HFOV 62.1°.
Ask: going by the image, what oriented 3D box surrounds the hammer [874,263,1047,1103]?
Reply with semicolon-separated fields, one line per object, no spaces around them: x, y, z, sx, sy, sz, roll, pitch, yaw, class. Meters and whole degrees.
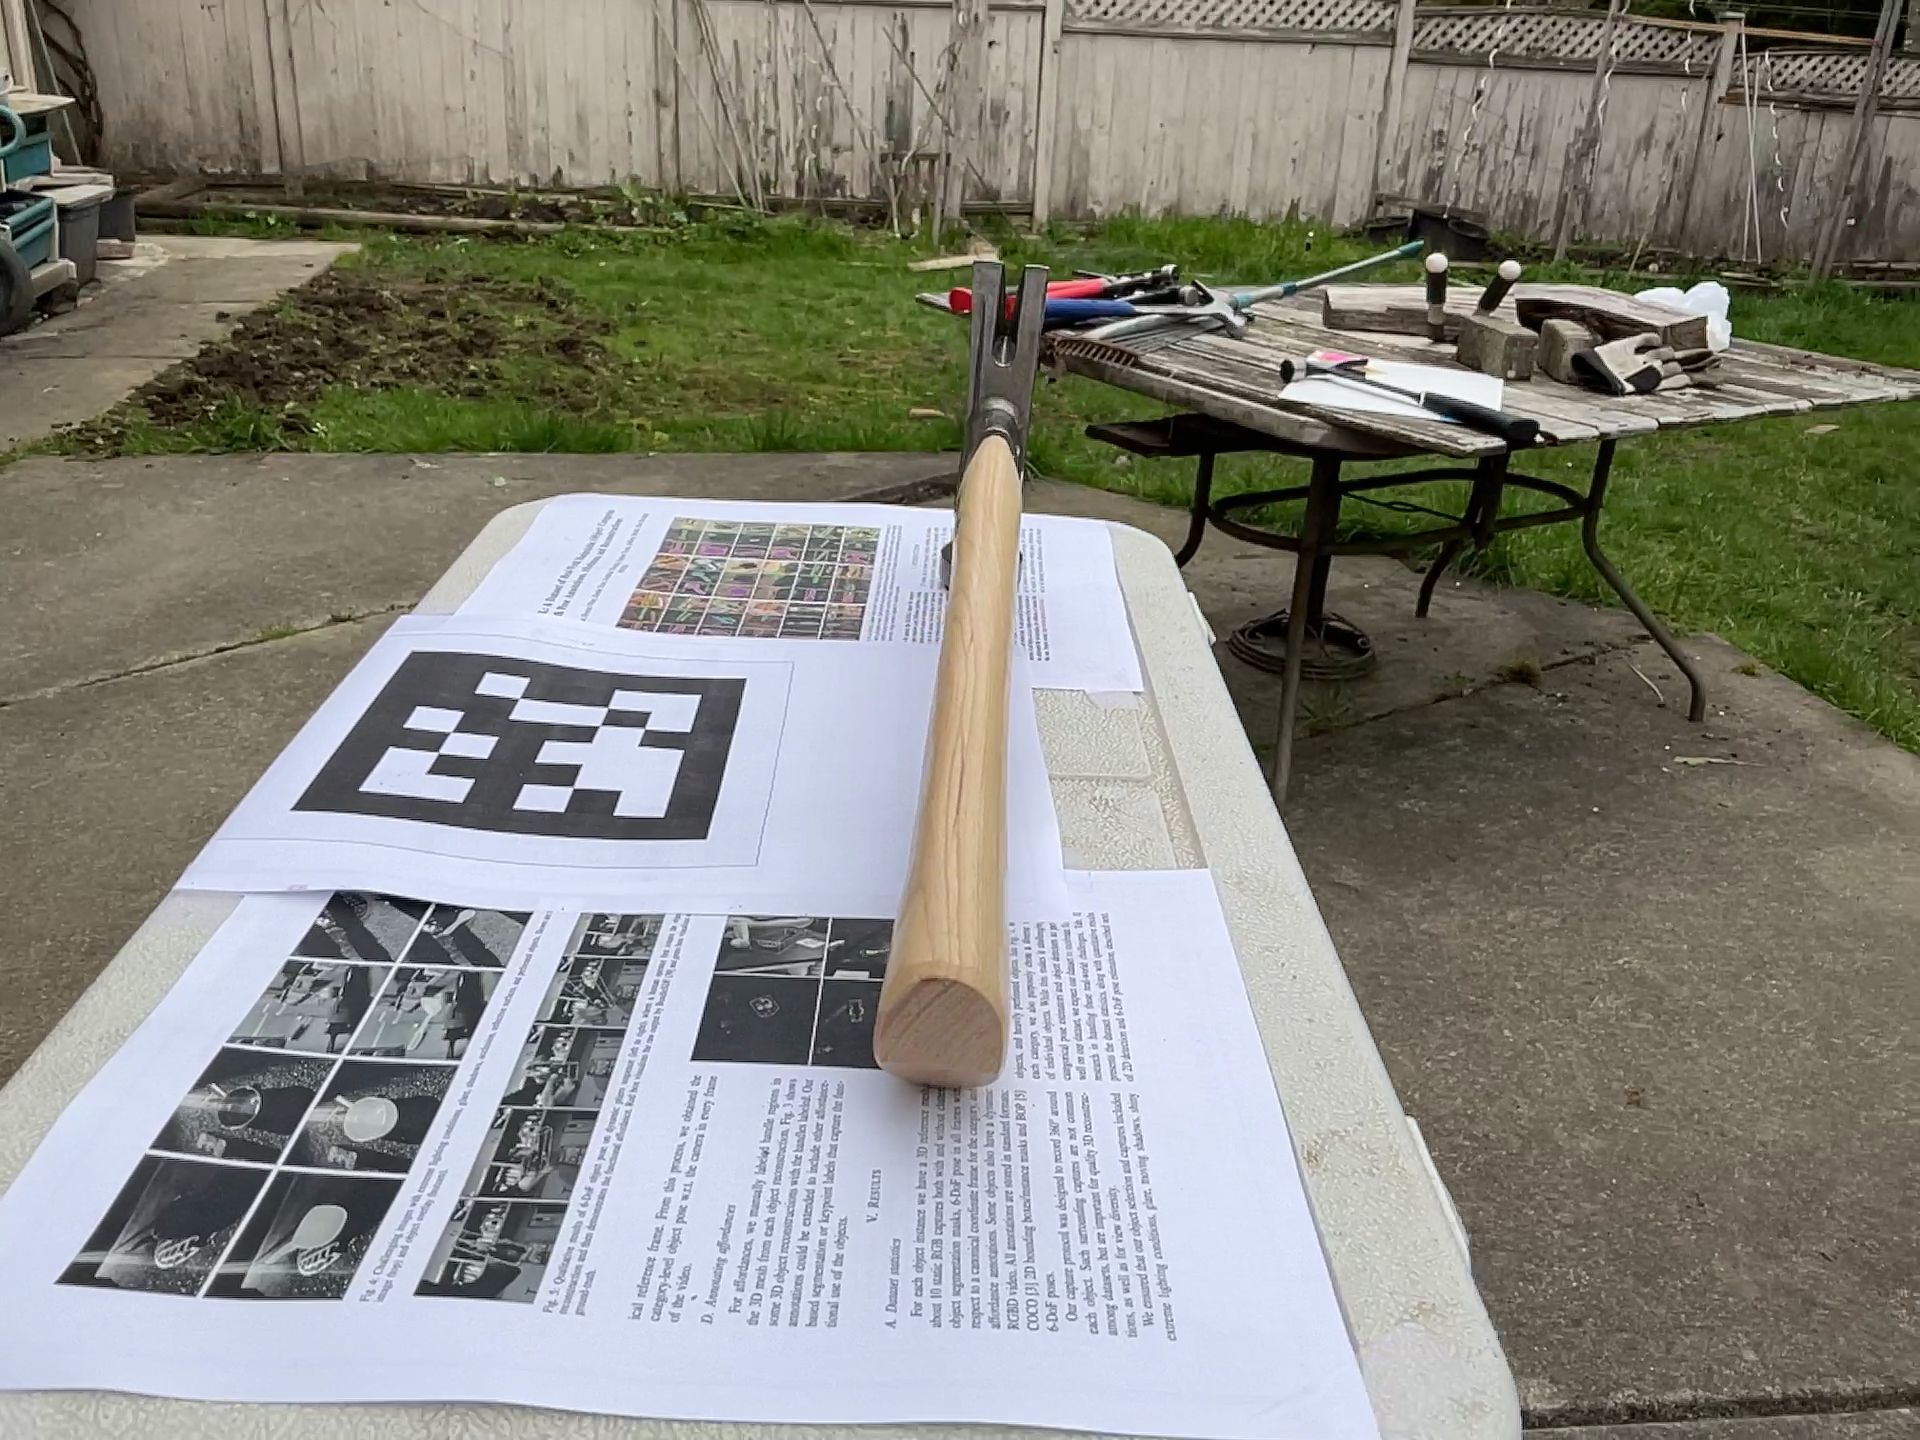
0.007;-0.034;0.533;0.038;0.146;0.411;5;29;0;hammer
